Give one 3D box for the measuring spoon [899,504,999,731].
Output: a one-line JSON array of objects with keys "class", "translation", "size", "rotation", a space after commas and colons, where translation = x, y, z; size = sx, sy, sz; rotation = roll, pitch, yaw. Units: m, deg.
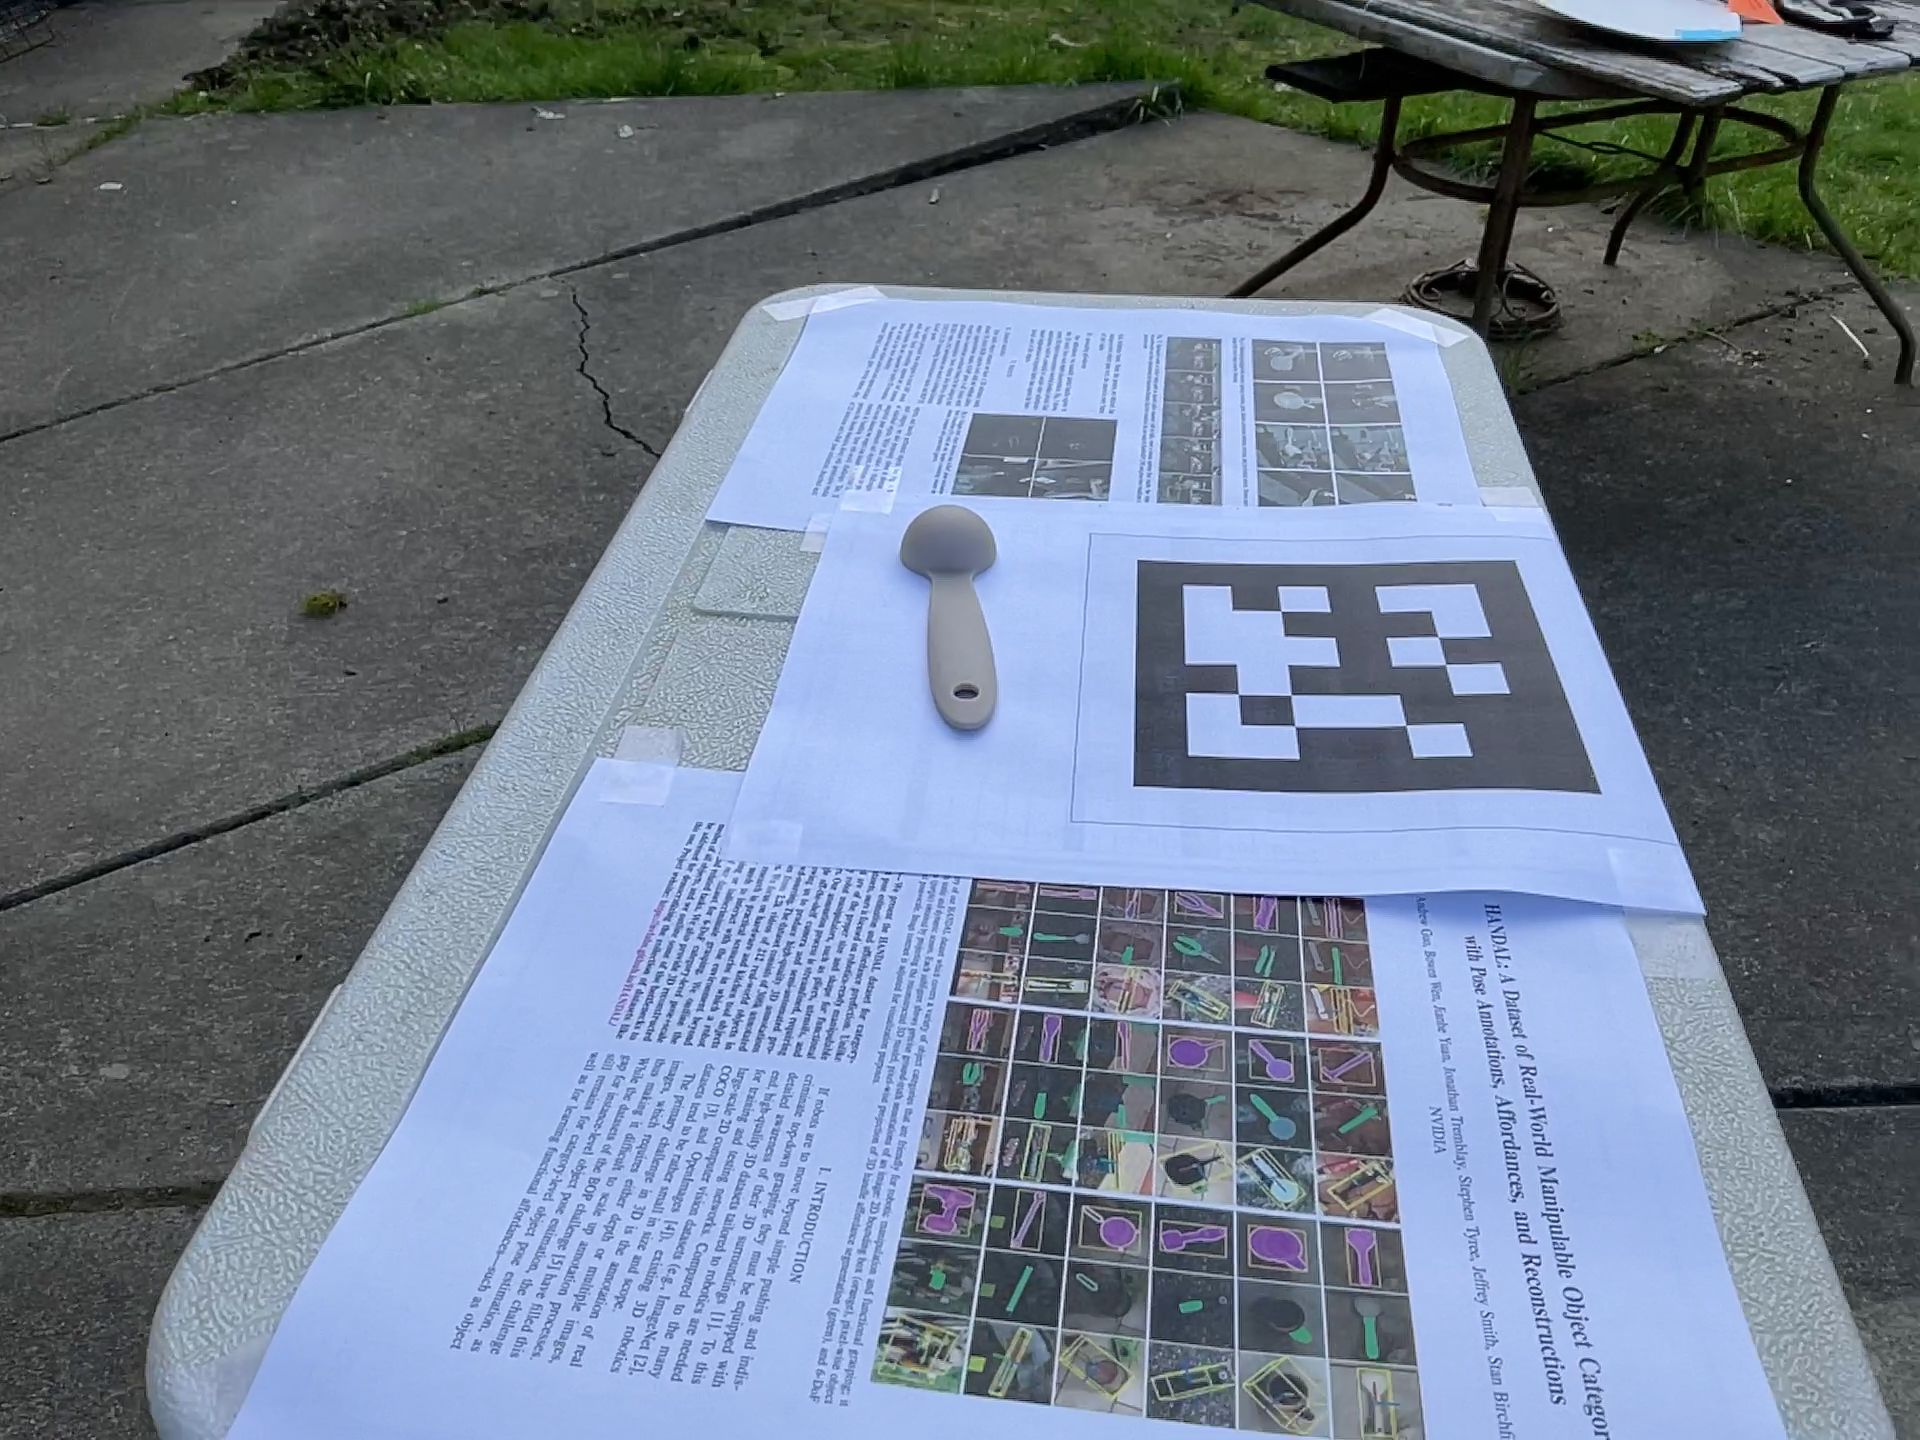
[{"class": "measuring spoon", "translation": [-0.001, -0.038, 0.514], "size": [0.034, 0.018, 0.124], "rotation": [-2, 36, -3]}]
